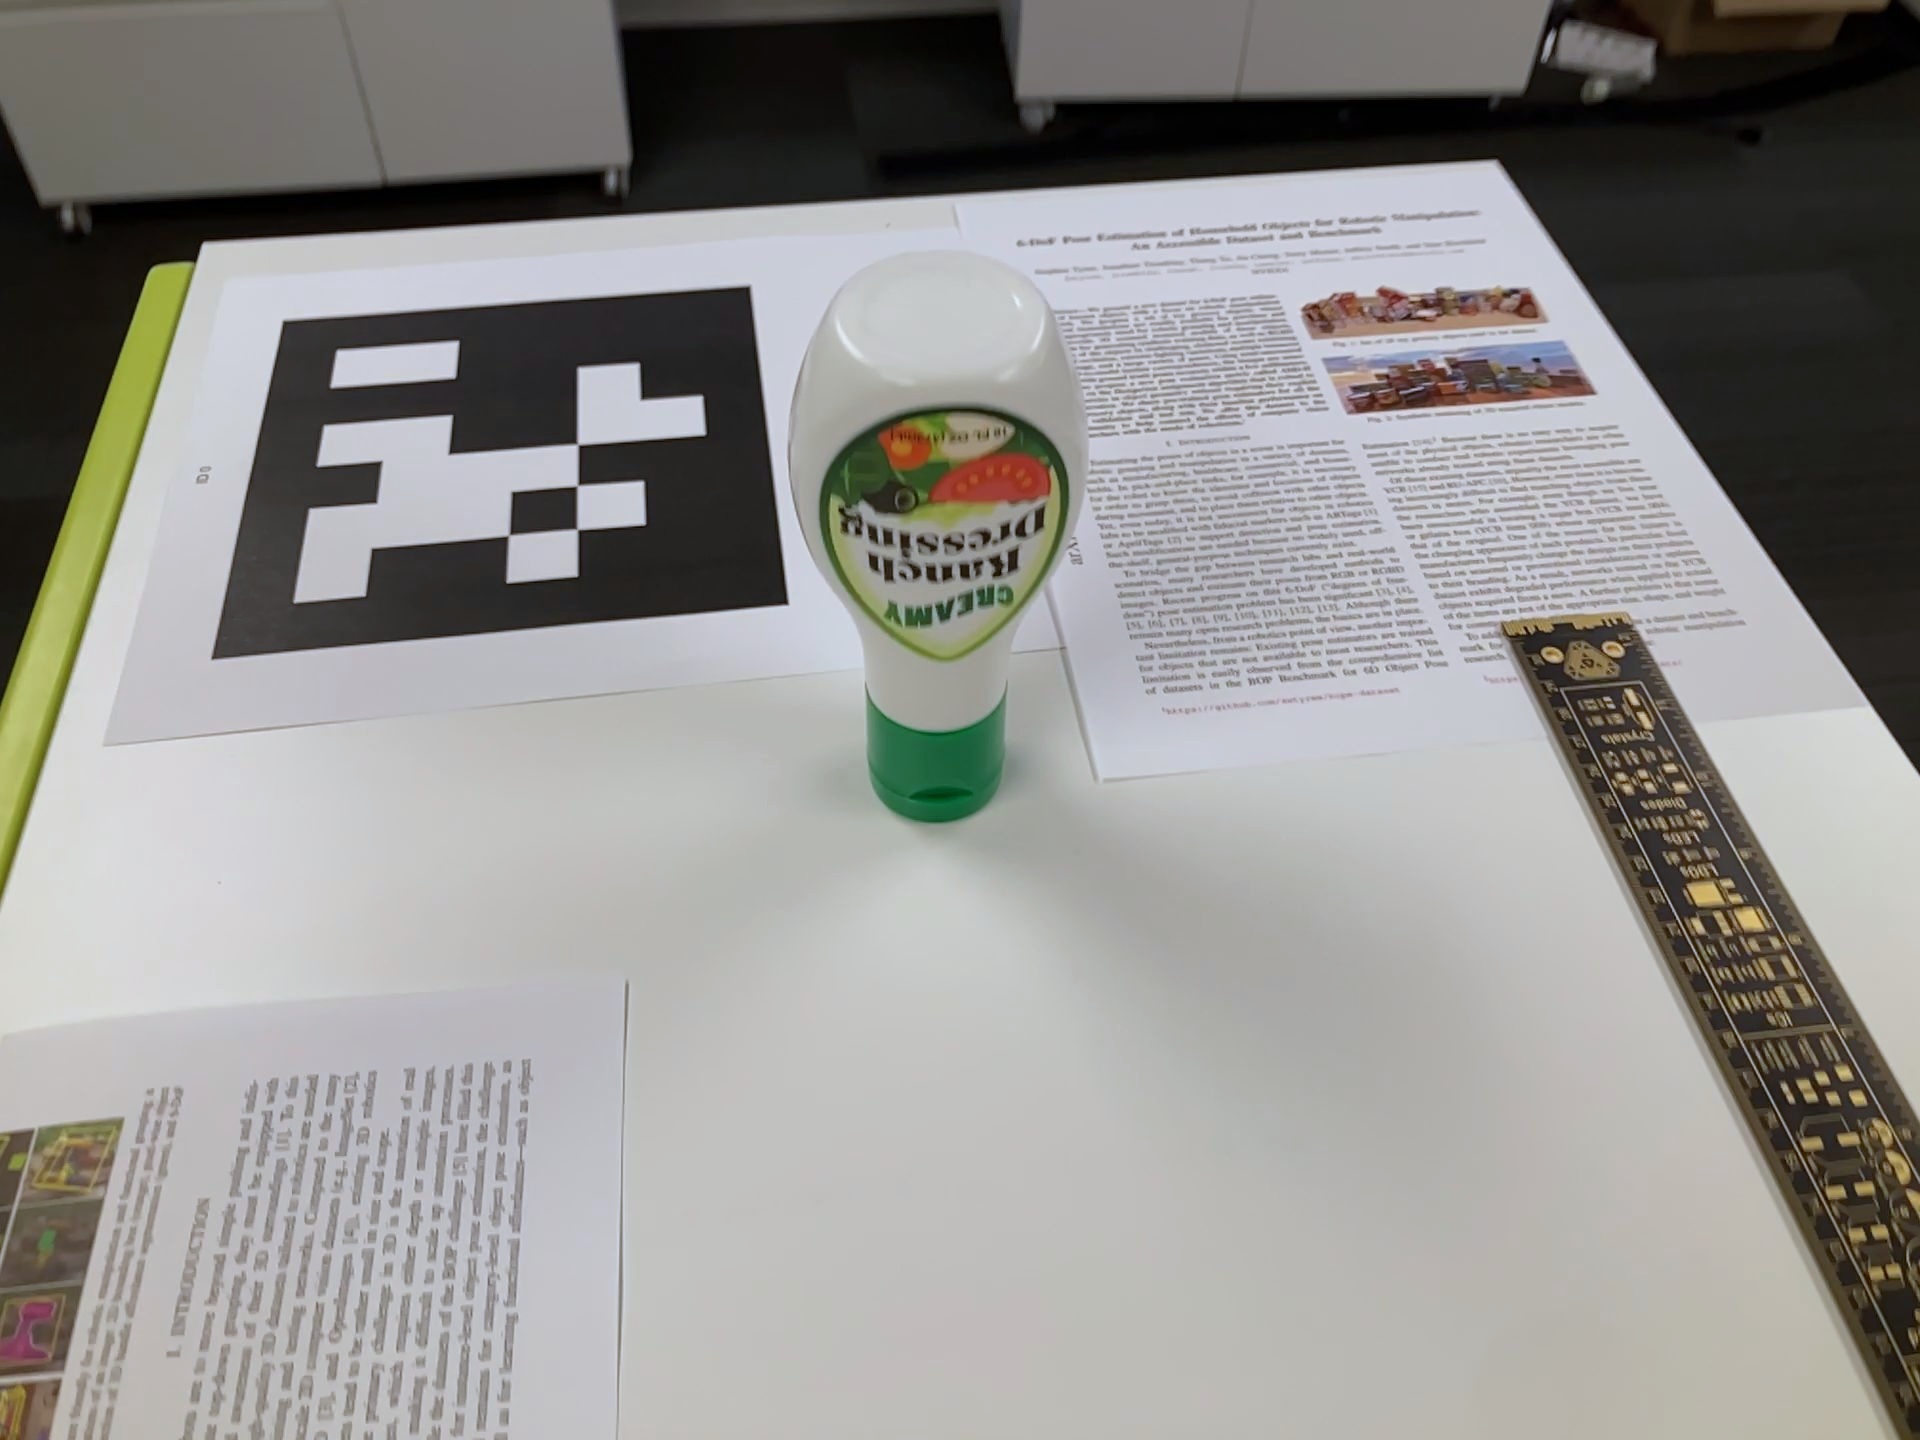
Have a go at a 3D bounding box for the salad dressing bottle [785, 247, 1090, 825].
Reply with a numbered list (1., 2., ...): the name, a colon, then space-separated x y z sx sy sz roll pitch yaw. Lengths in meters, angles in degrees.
1. salad dressing bottle: -0.005 -0.033 0.365 0.064 0.147 0.044 -4 50 -5
